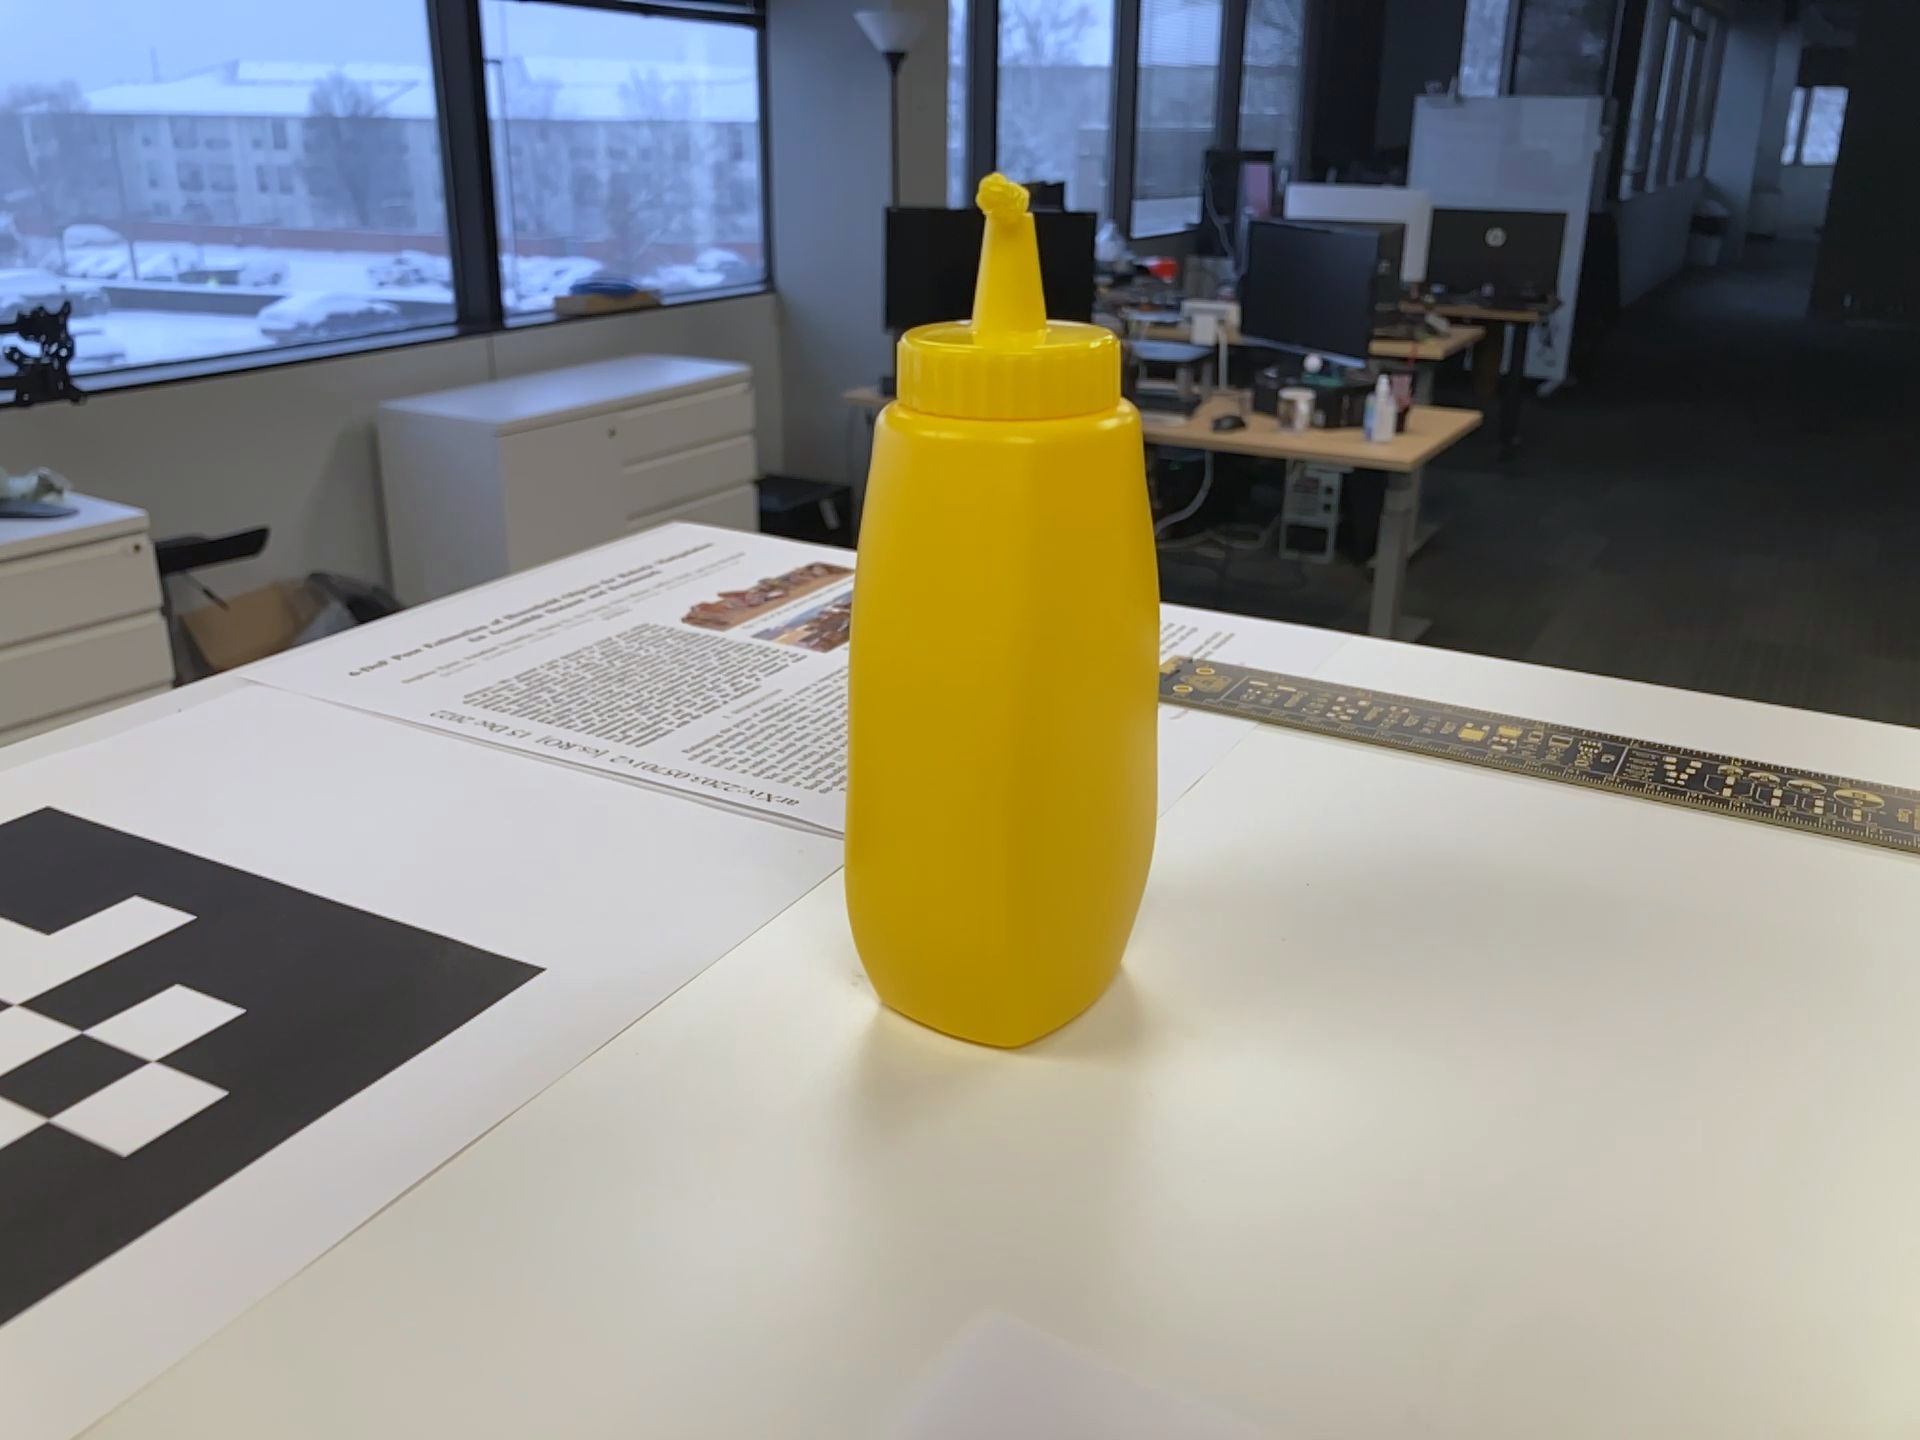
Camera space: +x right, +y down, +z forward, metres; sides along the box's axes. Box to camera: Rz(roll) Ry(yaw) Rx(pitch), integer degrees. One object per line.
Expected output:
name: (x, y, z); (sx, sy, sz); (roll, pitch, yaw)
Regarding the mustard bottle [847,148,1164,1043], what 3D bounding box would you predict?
mustard bottle: (0.009, -0.022, 0.298); (0.049, 0.160, 0.065); (12, 22, 31)
